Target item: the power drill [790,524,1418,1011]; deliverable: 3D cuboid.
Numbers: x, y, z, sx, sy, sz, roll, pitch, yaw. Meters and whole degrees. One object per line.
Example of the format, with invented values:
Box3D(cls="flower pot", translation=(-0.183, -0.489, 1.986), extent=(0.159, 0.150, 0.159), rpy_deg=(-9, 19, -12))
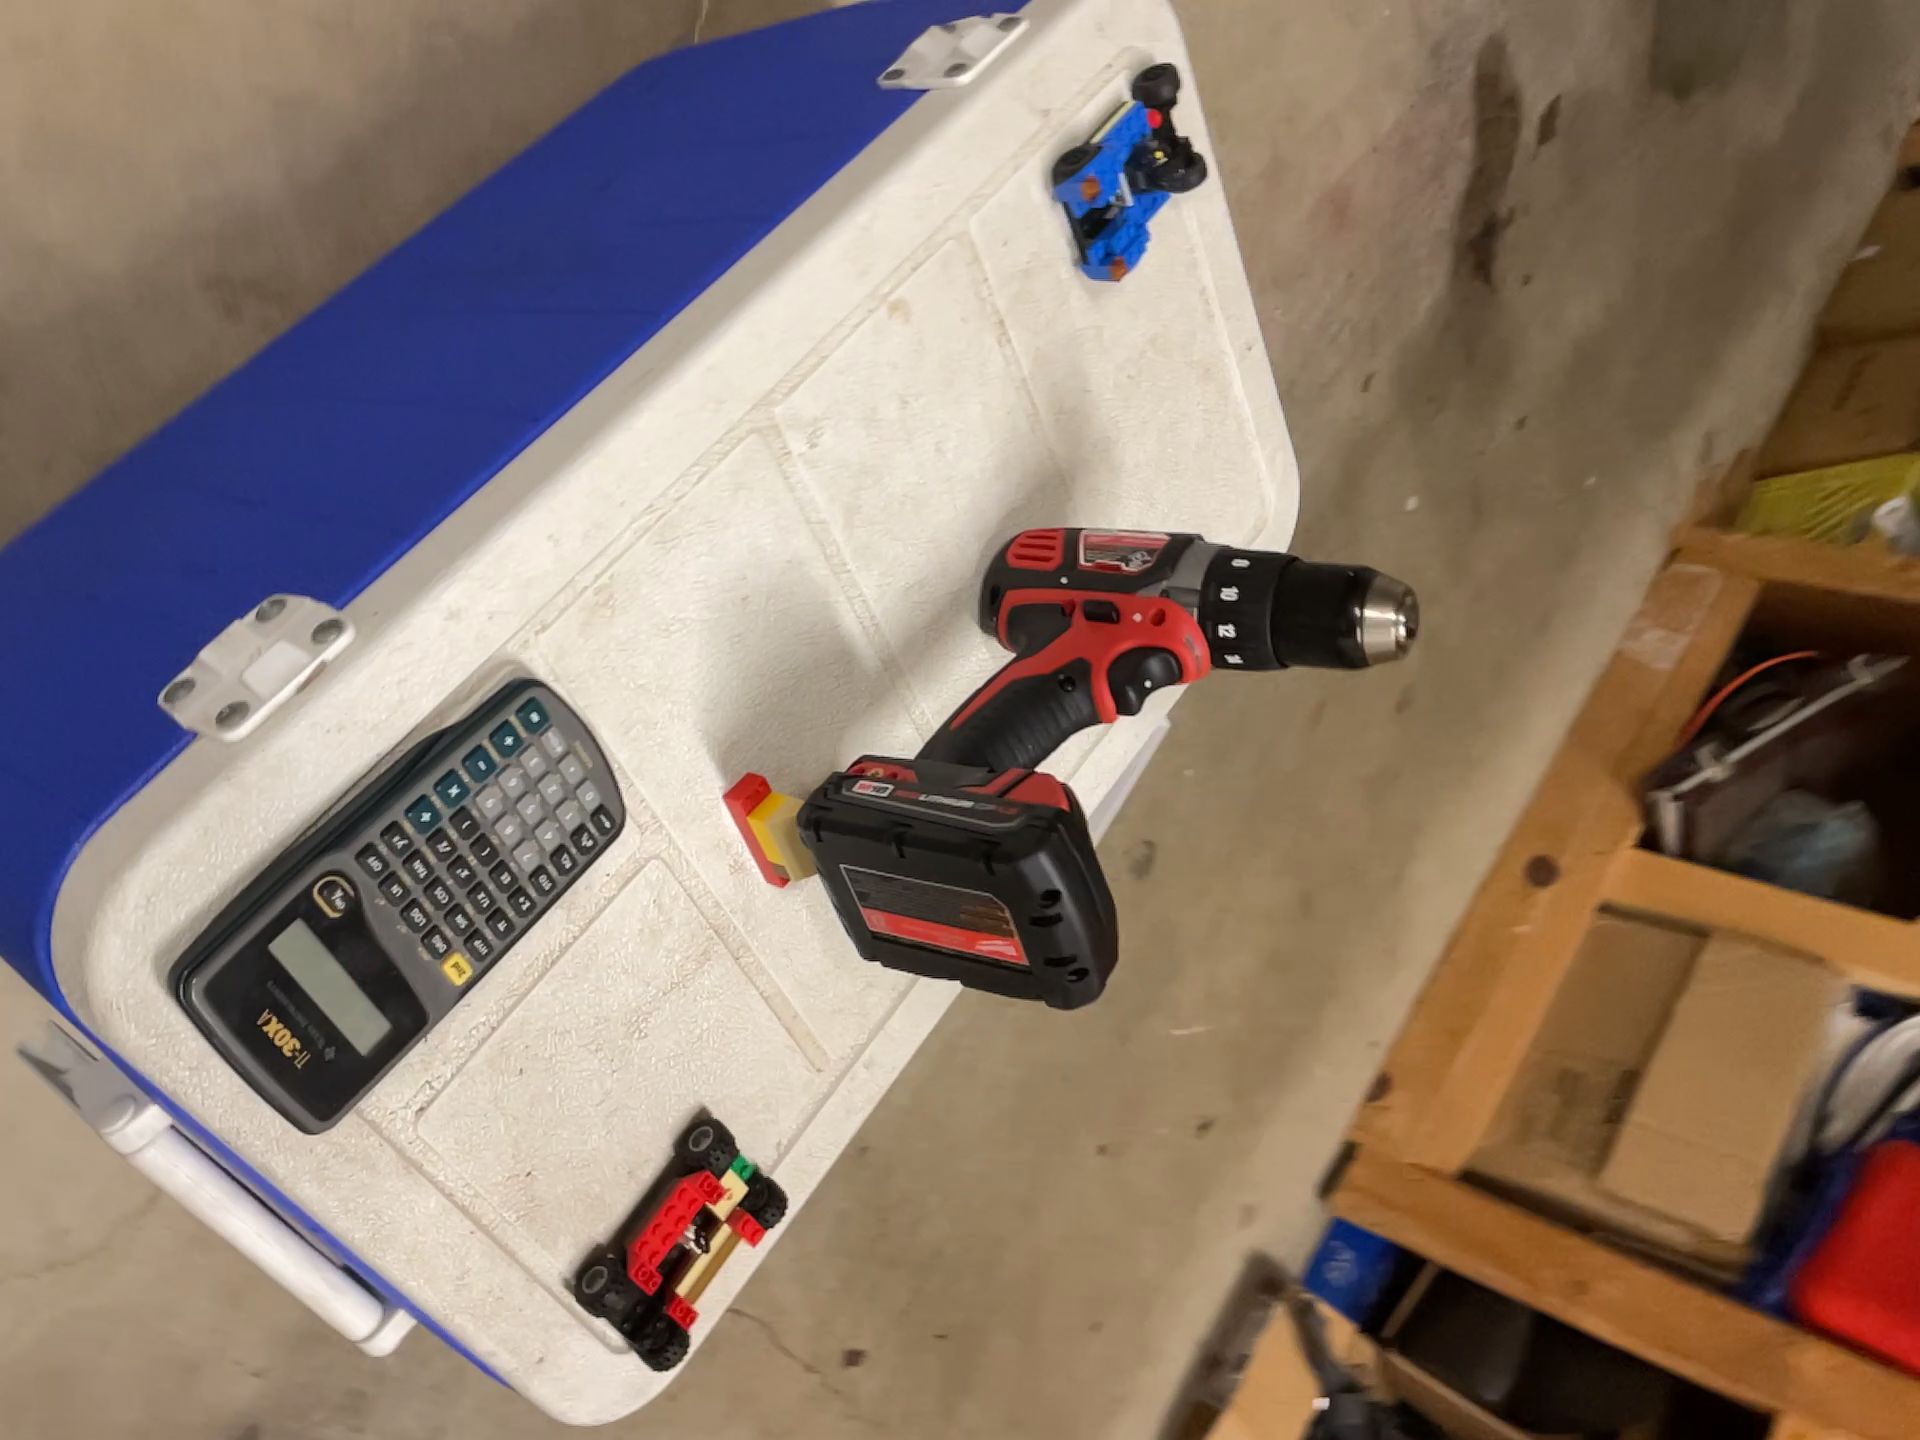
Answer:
Box3D(cls="power drill", translation=(0.061, 0.002, 0.630), extent=(0.227, 0.188, 0.080), rpy_deg=(-53, 137, -37))
